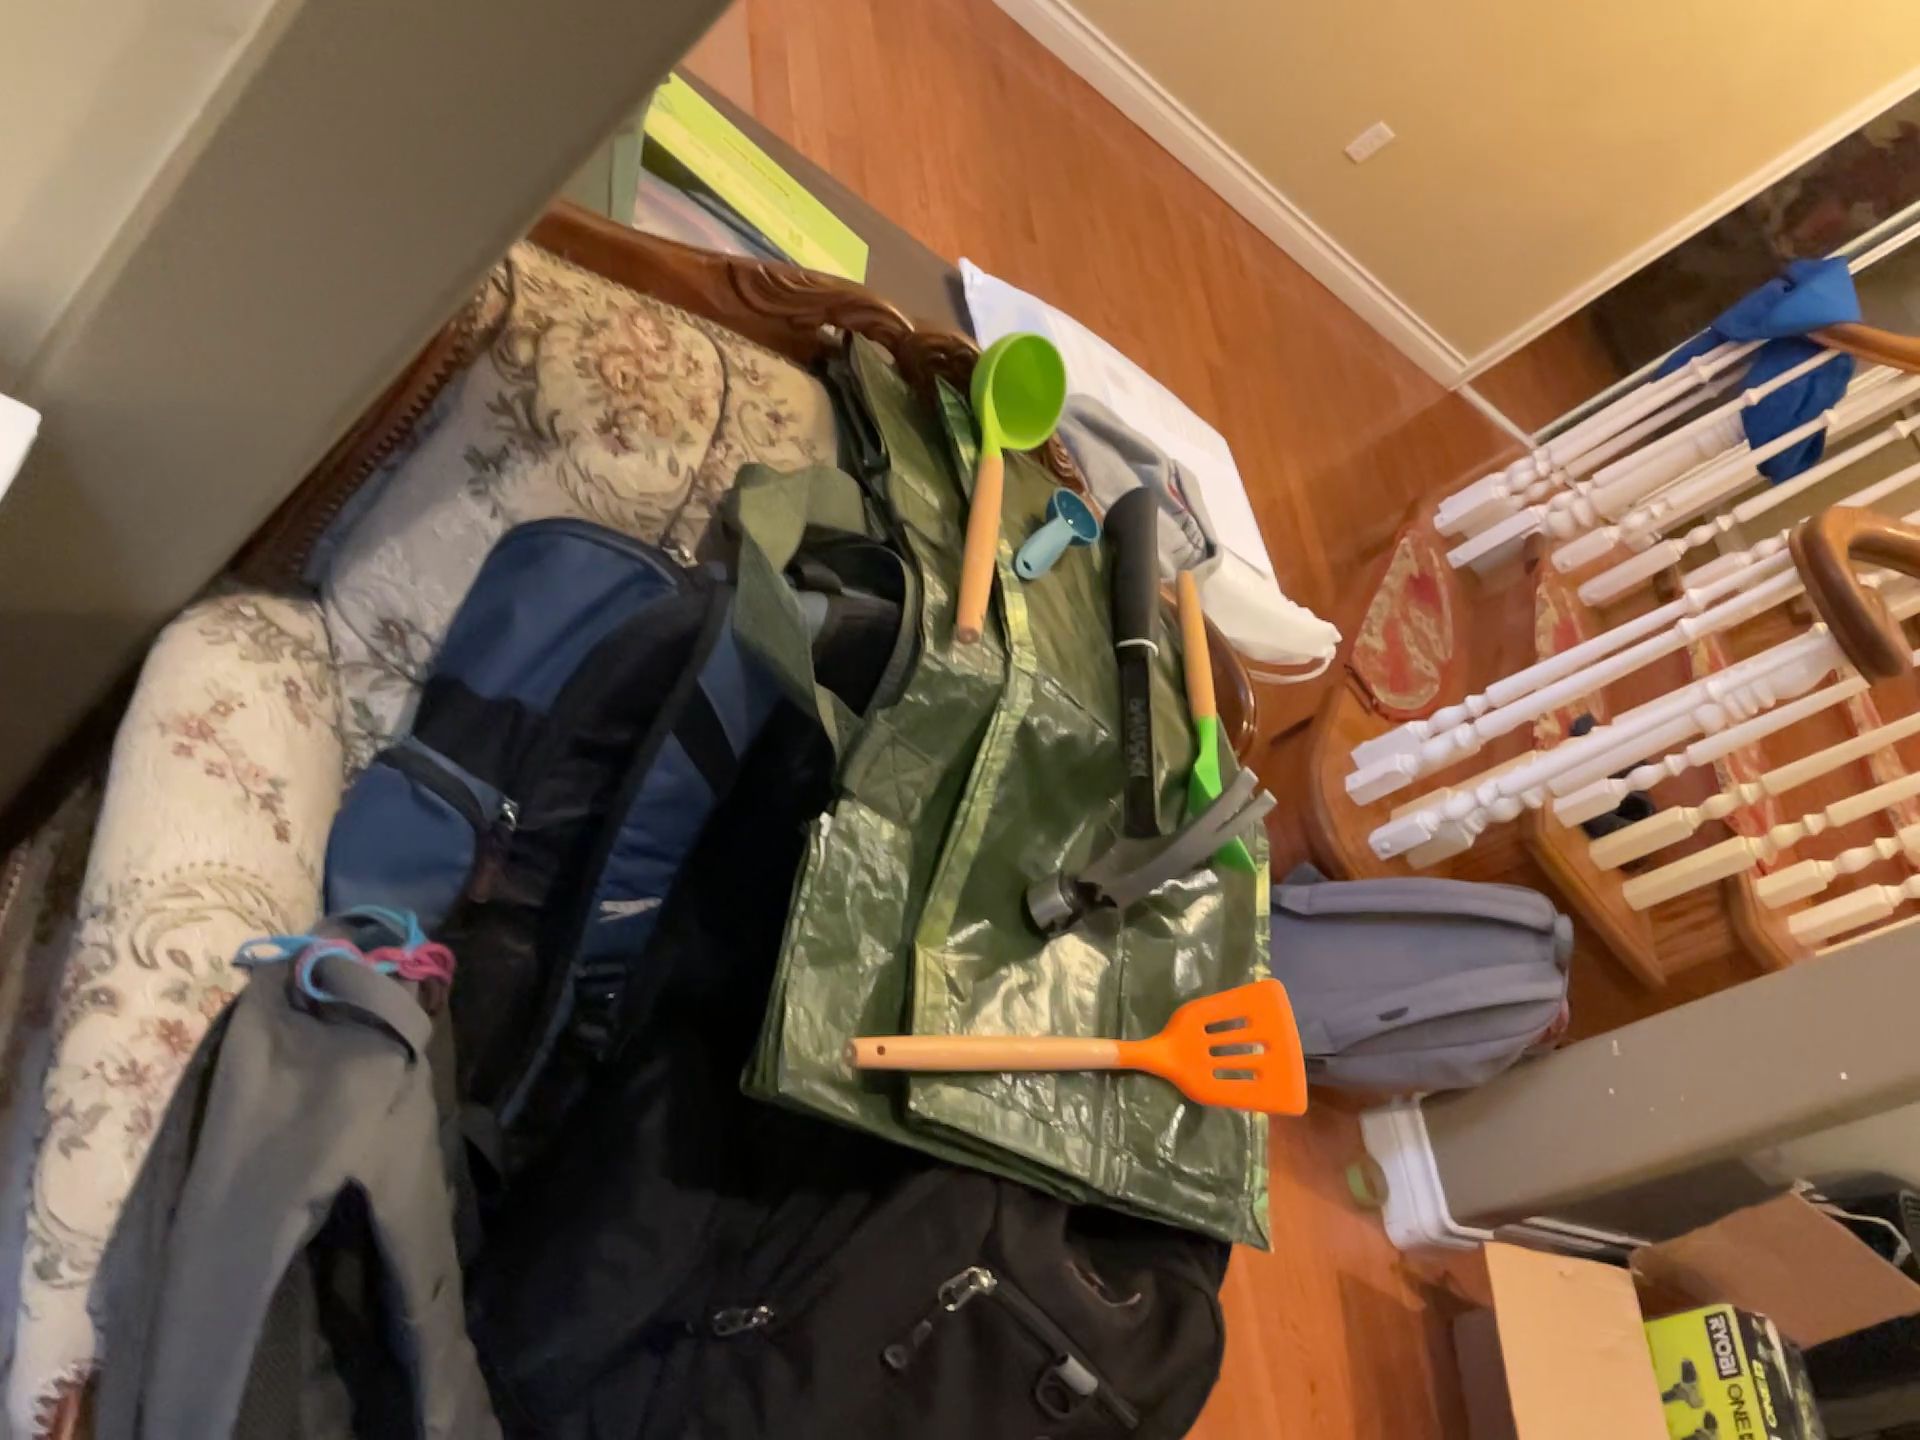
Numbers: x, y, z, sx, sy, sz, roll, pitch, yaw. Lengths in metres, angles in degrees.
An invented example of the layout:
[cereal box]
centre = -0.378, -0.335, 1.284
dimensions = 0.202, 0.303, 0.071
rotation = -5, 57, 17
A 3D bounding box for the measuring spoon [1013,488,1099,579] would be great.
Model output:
[measuring spoon]
centre = 0.053, -0.110, 0.997
dimensions = 0.042, 0.021, 0.128
rotation = 51, 34, -6

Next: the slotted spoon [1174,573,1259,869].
[slotted spoon]
centre = 0.165, -0.010, 1.079
dimensions = 0.070, 0.031, 0.314
rotation = 54, 22, -31

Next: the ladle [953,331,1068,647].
[ladle]
centre = 0.028, -0.143, 0.956
dimensions = 0.320, 0.062, 0.078
rotation = -82, 154, -52

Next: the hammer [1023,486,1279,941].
[hammer]
centre = 0.117, -0.036, 1.016
dimensions = 0.036, 0.149, 0.409
rotation = 48, 28, -28

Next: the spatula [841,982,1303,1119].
[spatula]
centre = 0.070, 0.177, 0.849
dimensions = 0.322, 0.041, 0.081
rotation = 12, 62, -42
